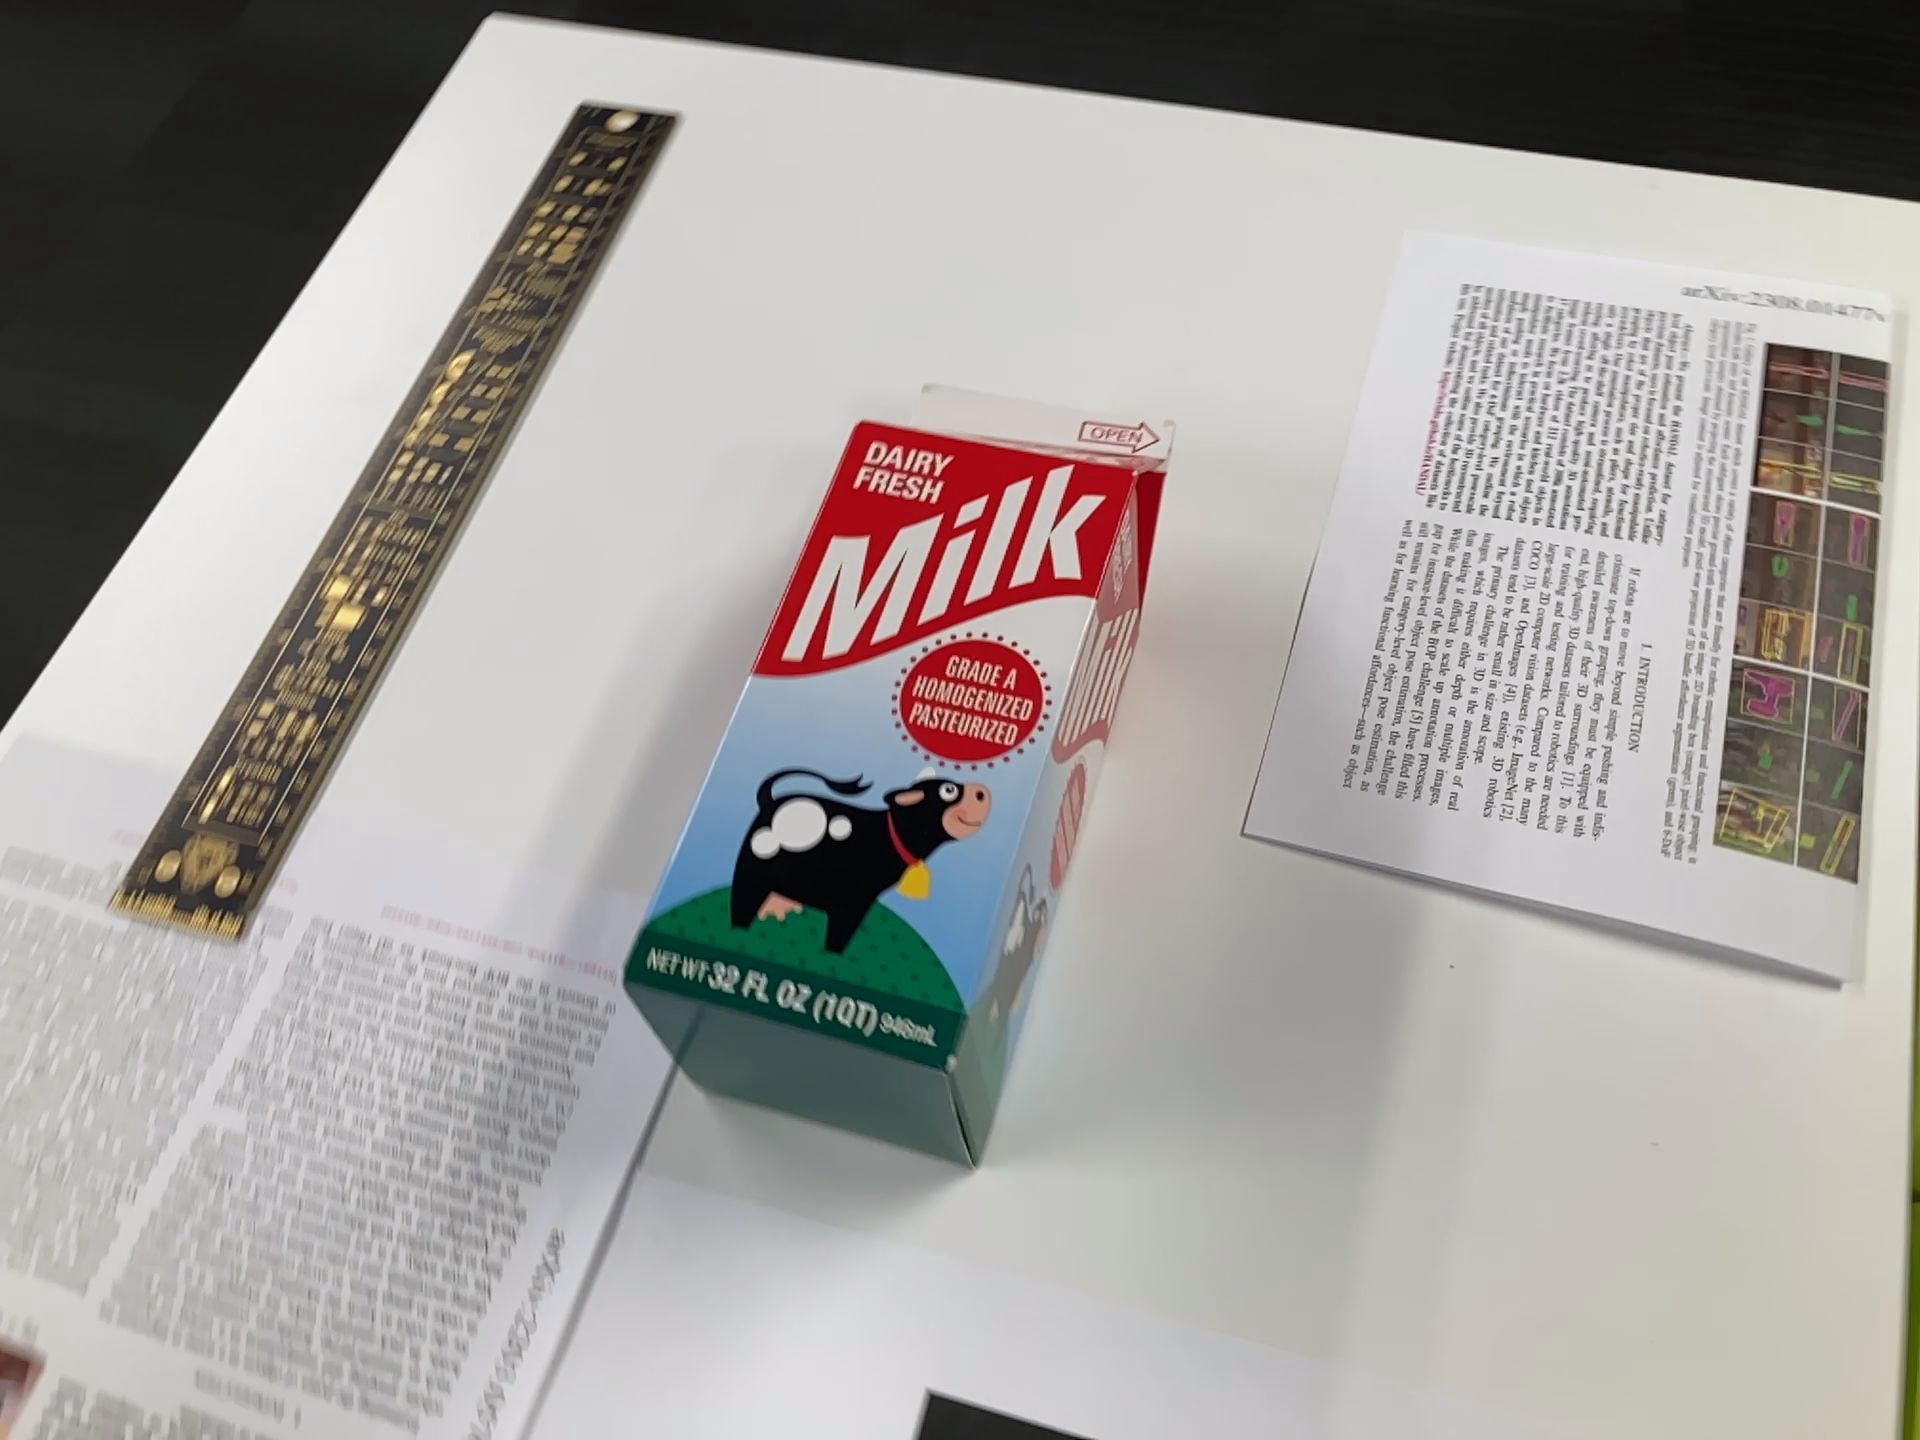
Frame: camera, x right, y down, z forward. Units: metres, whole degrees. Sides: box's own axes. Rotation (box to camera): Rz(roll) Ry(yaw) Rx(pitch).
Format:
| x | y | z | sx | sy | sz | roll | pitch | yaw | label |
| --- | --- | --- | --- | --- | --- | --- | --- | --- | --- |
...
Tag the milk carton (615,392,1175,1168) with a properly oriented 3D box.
| x | y | z | sx | sy | sz | roll | pitch | yaw | label |
| --- | --- | --- | --- | --- | --- | --- | --- | --- | --- |
| -0.004 | -0.003 | 0.378 | 0.072 | 0.073 | 0.190 | 12 | 61 | 13 | milk carton |
